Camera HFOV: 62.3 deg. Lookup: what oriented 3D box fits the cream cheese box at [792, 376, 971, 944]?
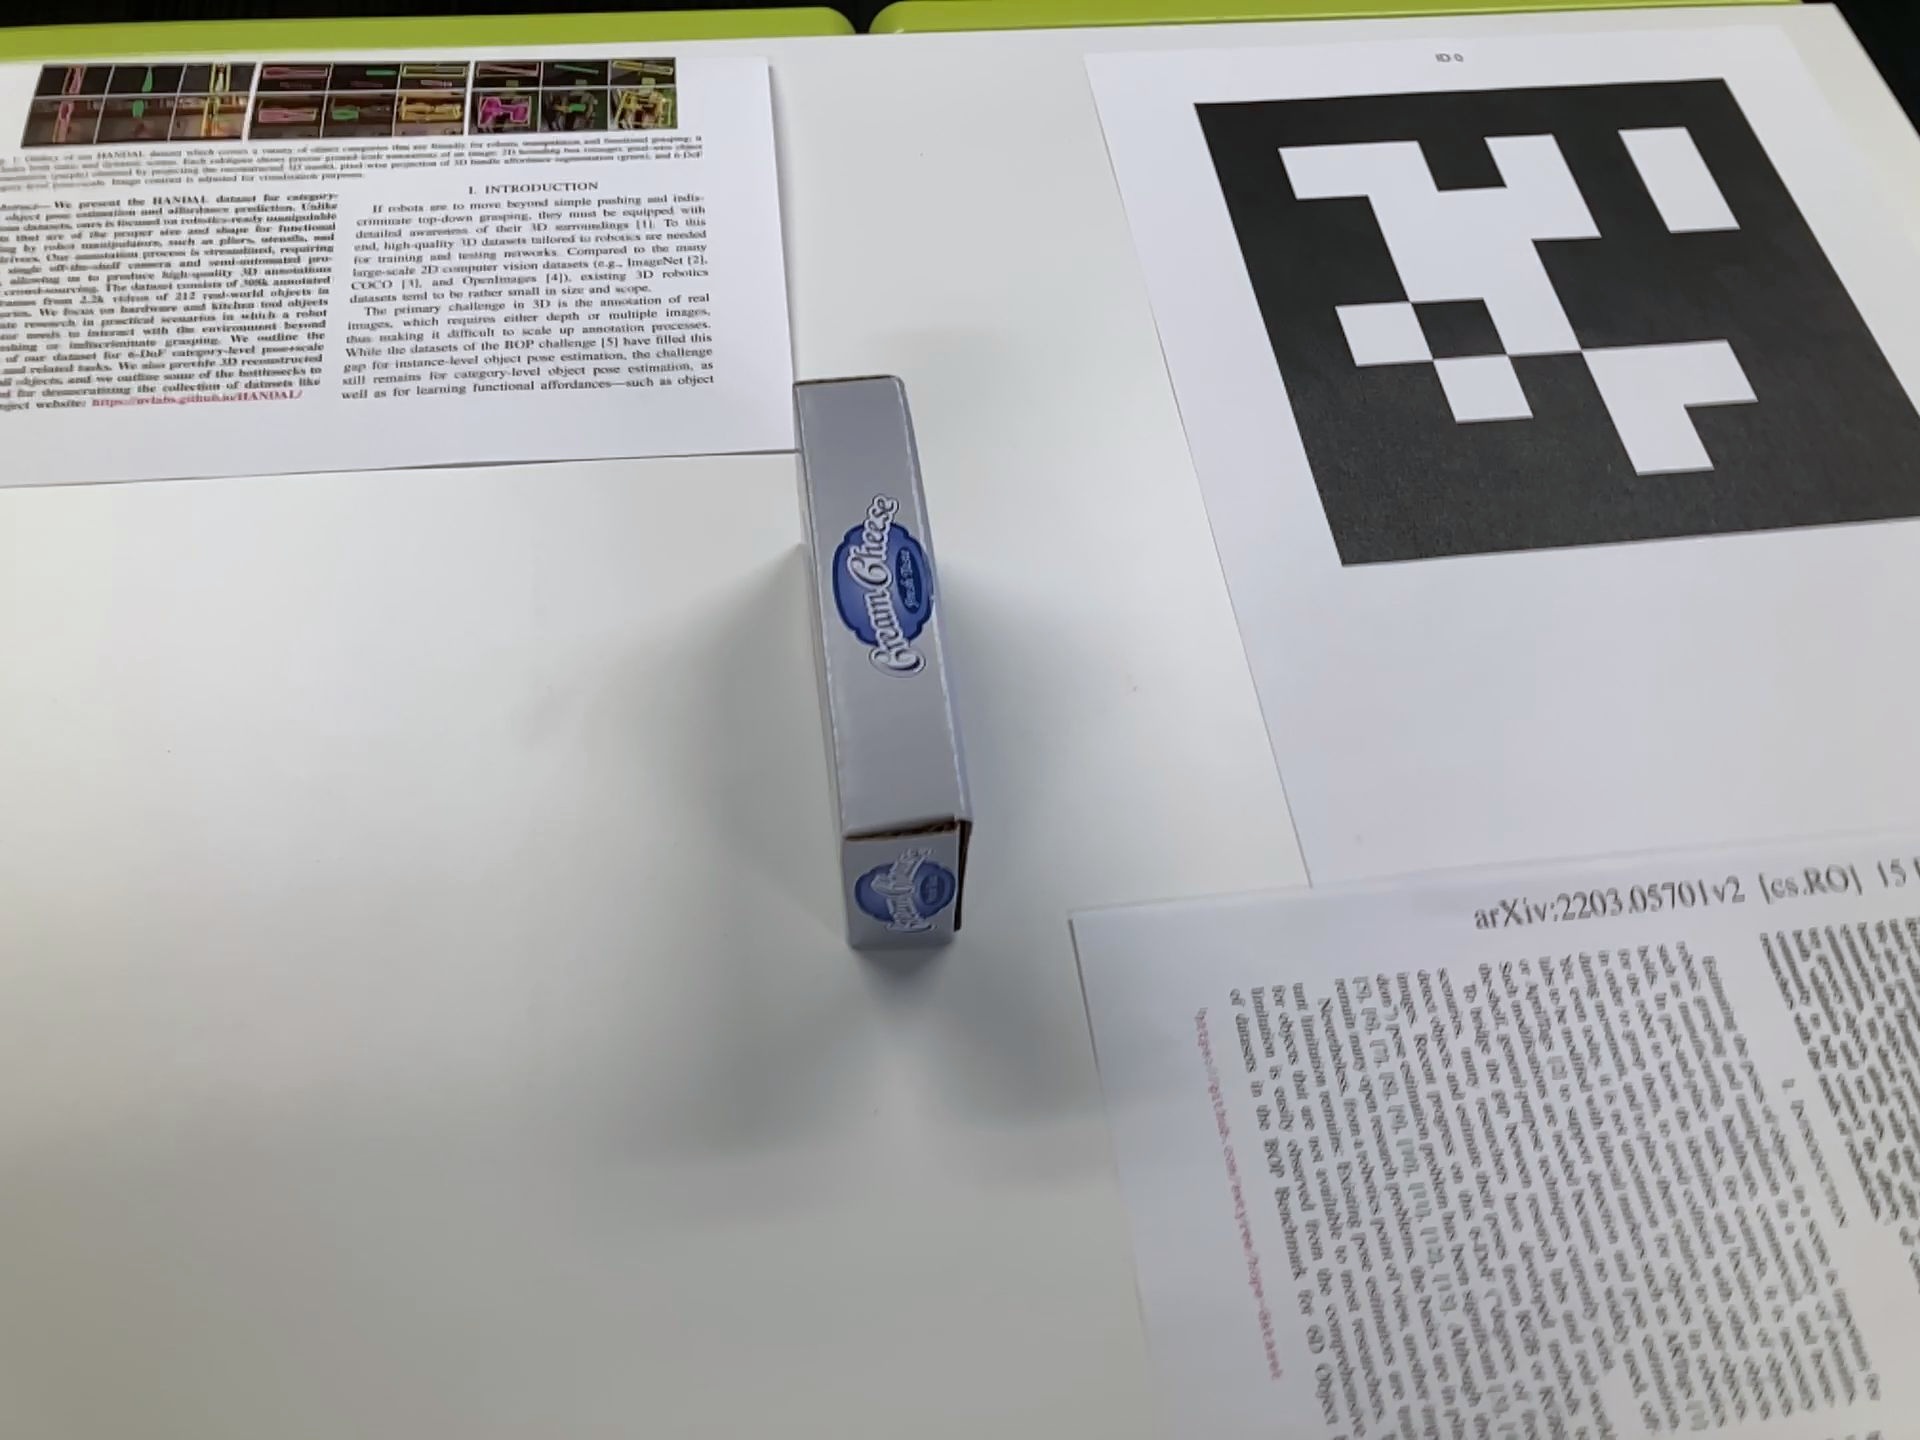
[{"bbox_3d":[-0.017,-0.012,0.319,0.024,0.053,0.104,-6,60,-5],"label":"cream cheese box"}]
